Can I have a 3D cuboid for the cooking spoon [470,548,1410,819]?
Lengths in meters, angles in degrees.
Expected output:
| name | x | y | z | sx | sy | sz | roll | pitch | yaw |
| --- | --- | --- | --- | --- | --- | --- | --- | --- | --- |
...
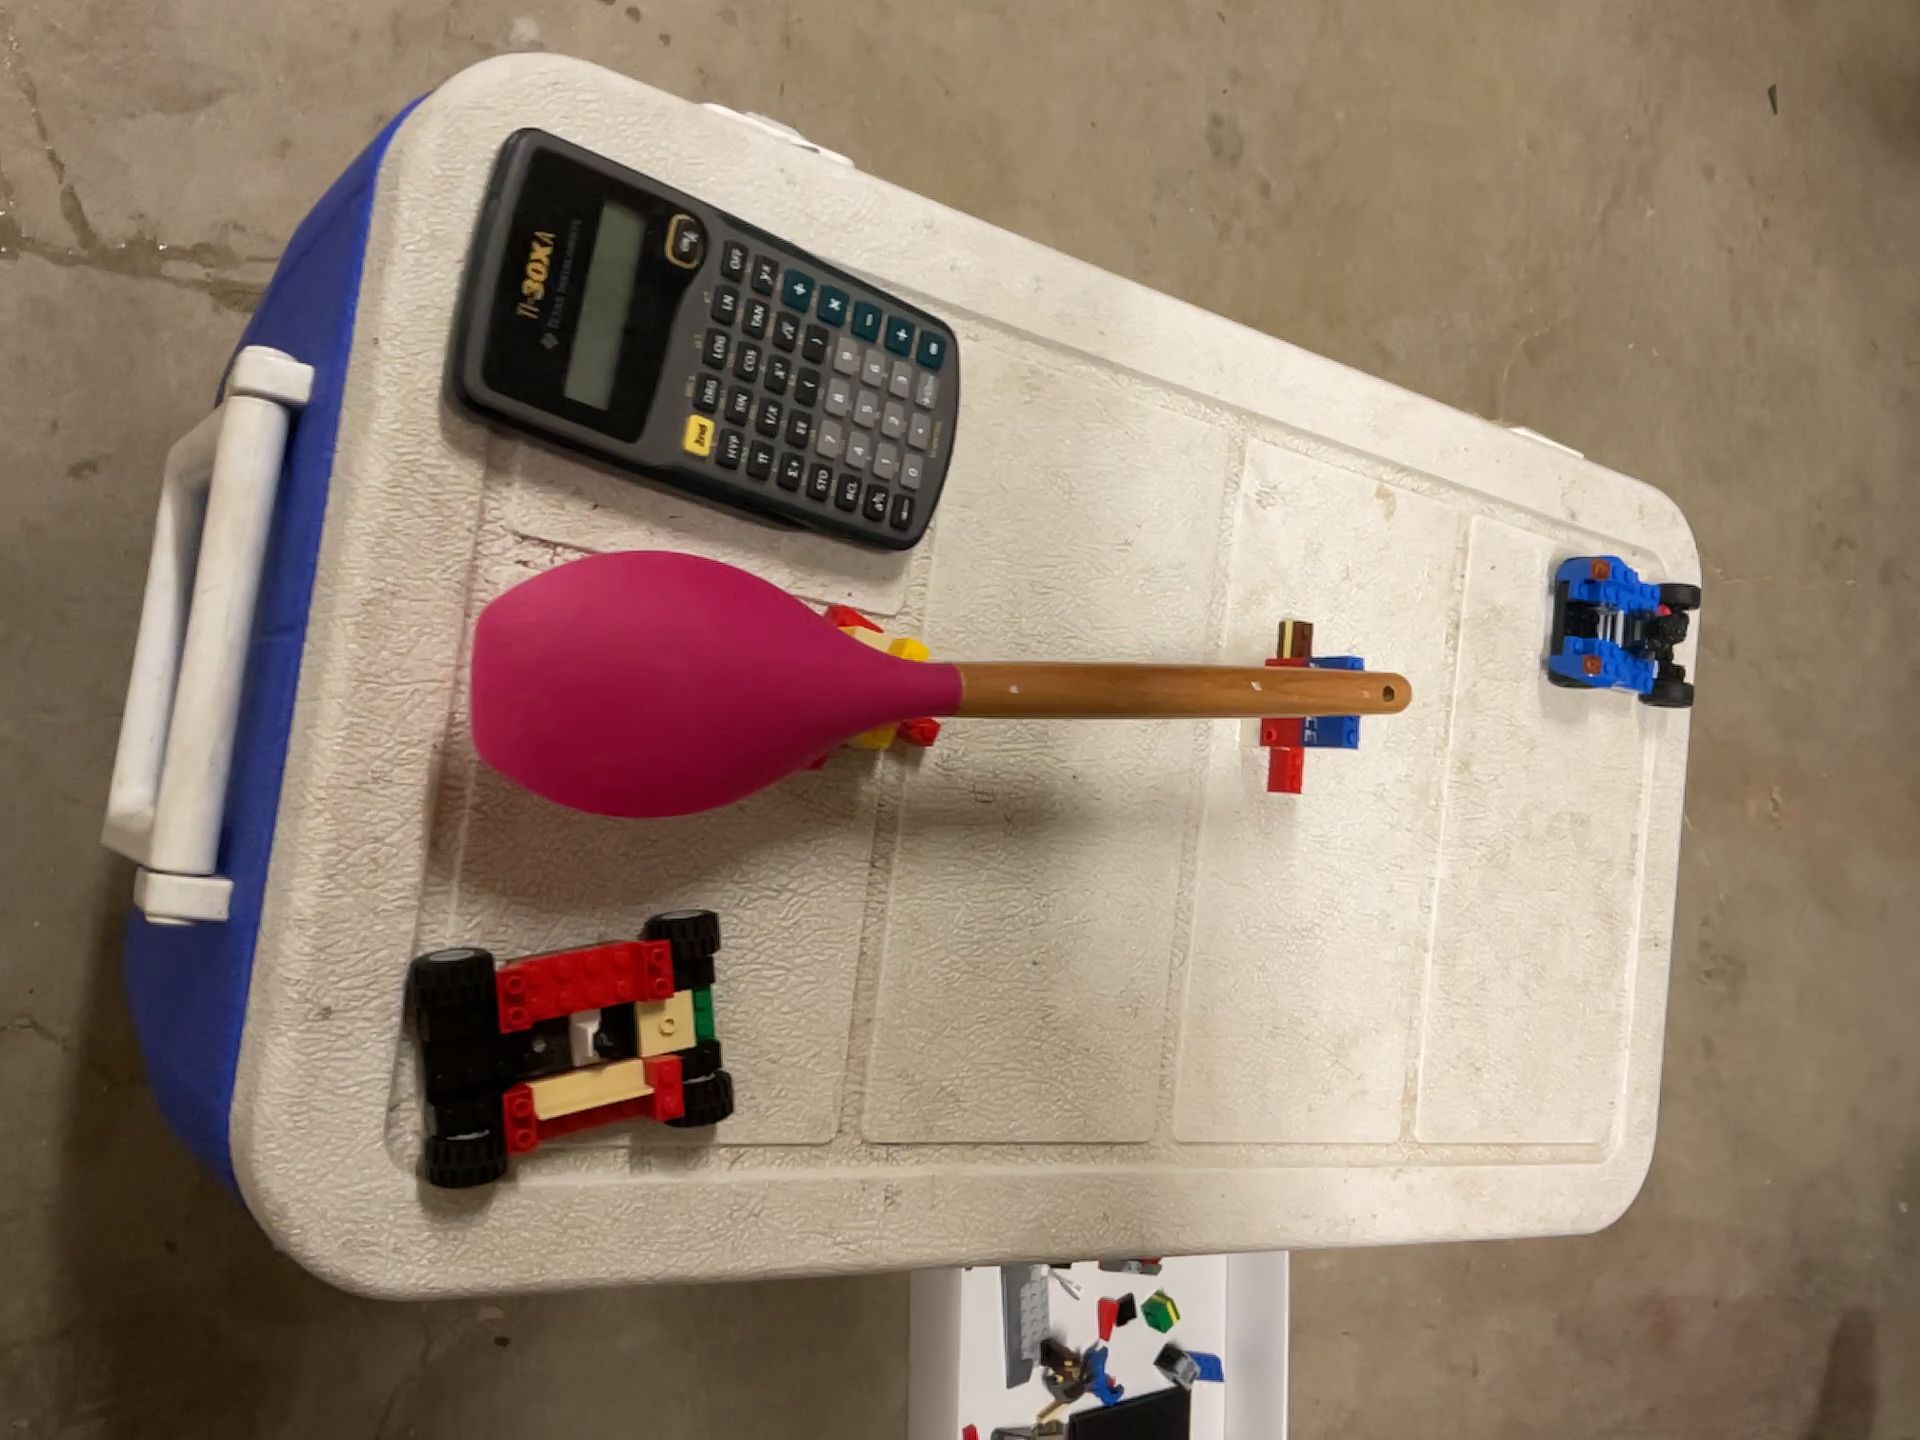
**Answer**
| name | x | y | z | sx | sy | sz | roll | pitch | yaw |
| --- | --- | --- | --- | --- | --- | --- | --- | --- | --- |
| cooking spoon | 0.018 | -0.009 | 0.465 | 0.319 | 0.017 | 0.069 | 0 | 95 | -34 |
